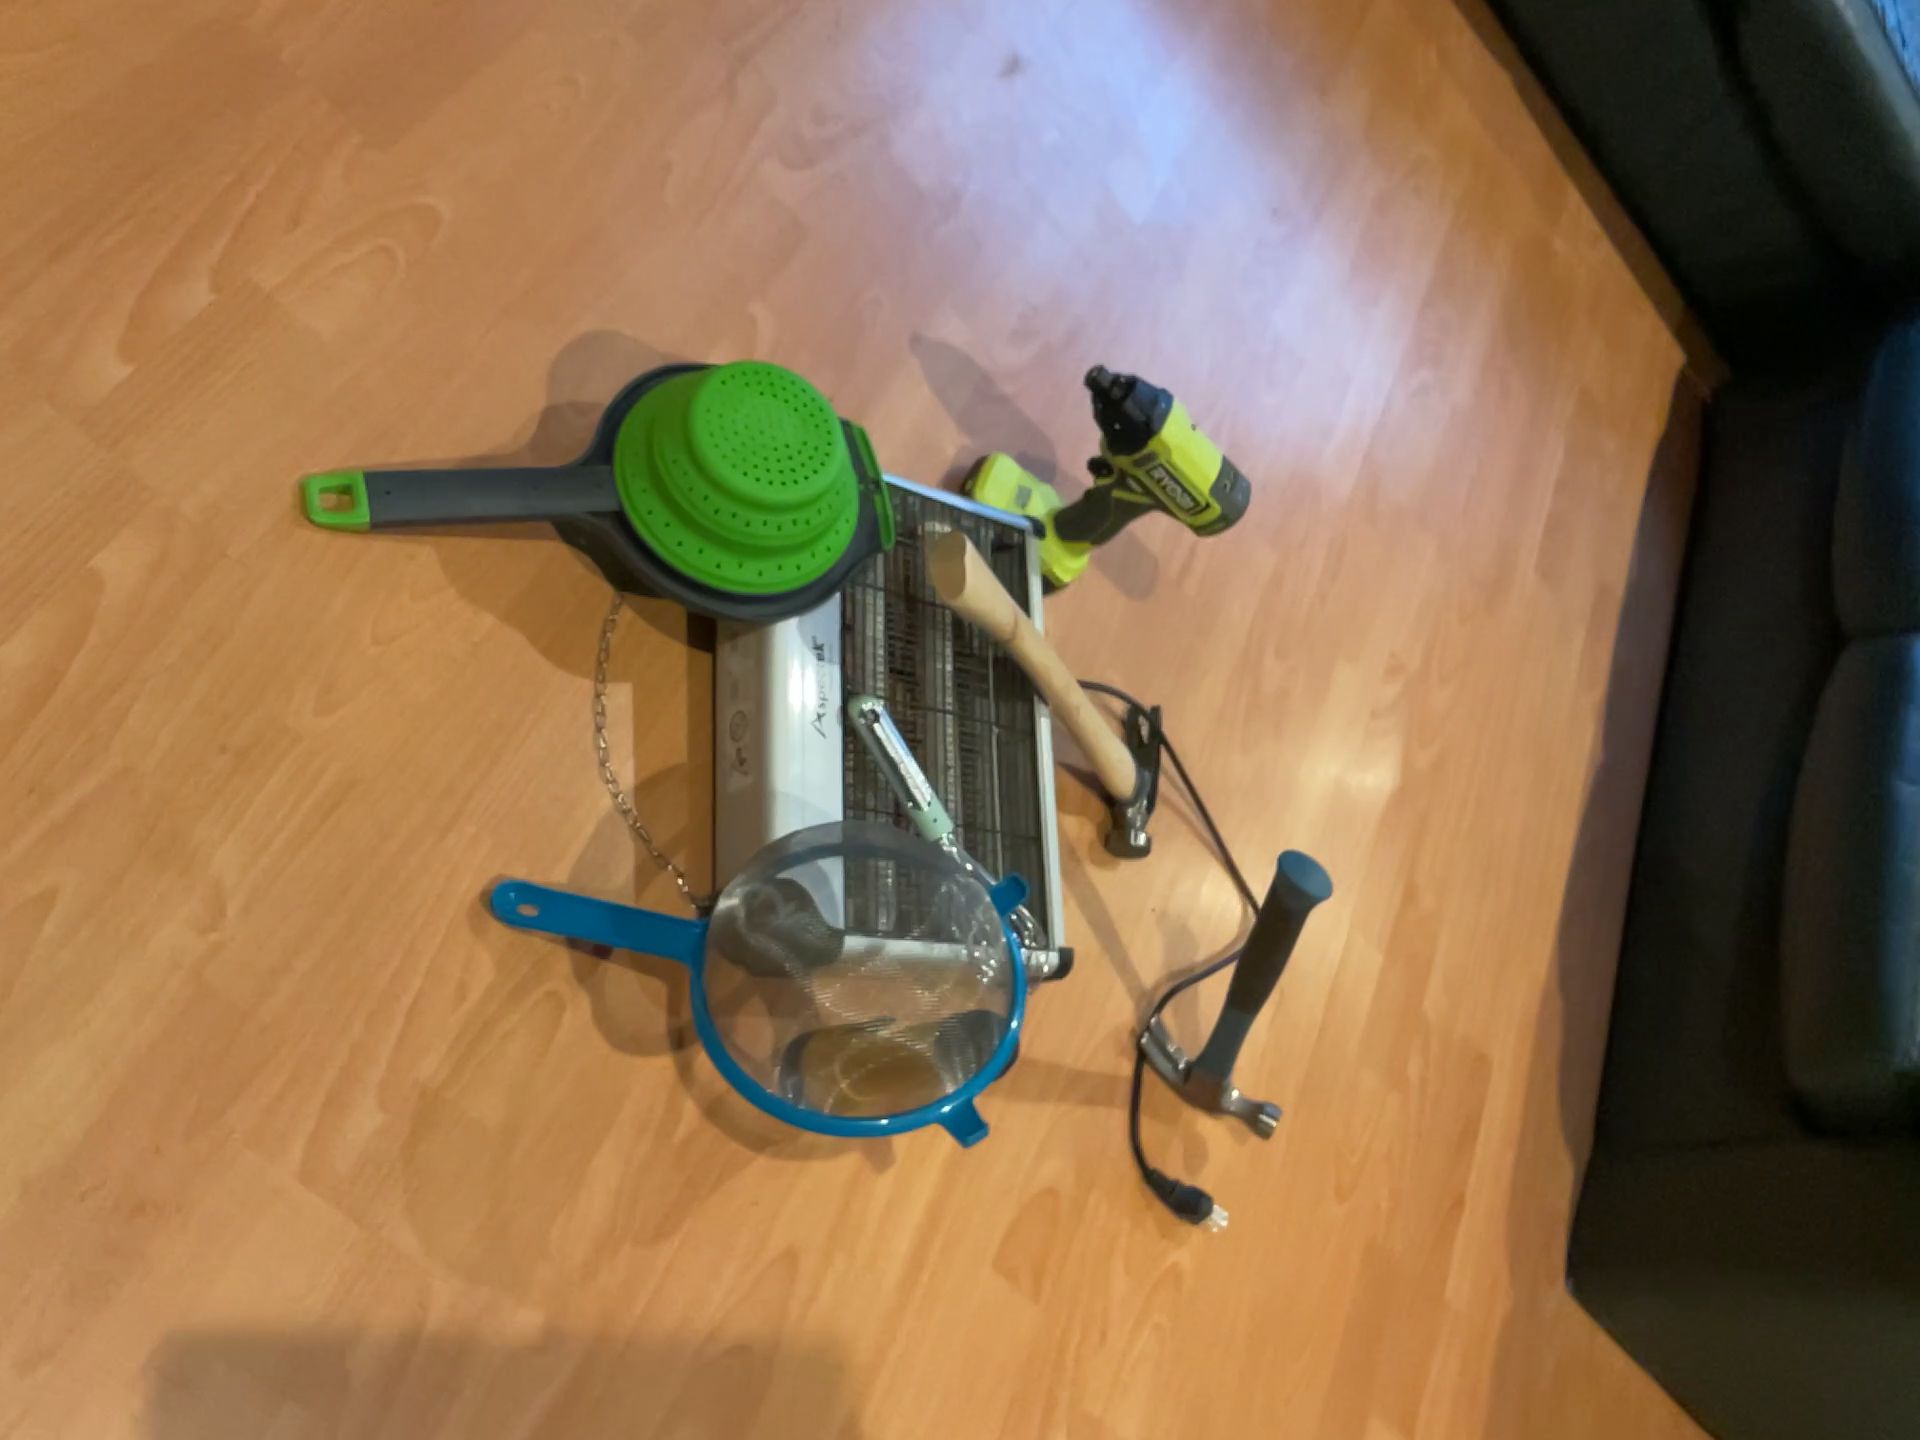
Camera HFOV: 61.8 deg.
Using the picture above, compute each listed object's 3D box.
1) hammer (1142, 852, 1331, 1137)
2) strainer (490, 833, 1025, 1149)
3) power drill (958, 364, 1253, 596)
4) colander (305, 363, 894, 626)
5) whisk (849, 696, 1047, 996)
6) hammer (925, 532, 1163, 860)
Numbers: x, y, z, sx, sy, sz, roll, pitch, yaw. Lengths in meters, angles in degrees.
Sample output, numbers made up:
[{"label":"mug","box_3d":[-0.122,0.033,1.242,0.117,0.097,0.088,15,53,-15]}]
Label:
[{"label":"hammer","box_3d":[0.228,0.215,1.261,0.128,0.330,0.033,25,50,13]},{"label":"strainer","box_3d":[-0.122,0.125,0.981,0.340,0.095,0.211,13,49,0]},{"label":"power drill","box_3d":[0.108,-0.198,1.336,0.171,0.223,0.080,41,52,-24]},{"label":"colander","box_3d":[-0.217,-0.167,1.059,0.397,0.094,0.204,-6,72,-26]},{"label":"whisk","box_3d":[-0.011,0.091,1.140,0.058,0.059,0.246,-32,95,-14]},{"label":"hammer","box_3d":[0.078,-0.033,1.275,0.410,0.038,0.146,47,46,-52]}]
